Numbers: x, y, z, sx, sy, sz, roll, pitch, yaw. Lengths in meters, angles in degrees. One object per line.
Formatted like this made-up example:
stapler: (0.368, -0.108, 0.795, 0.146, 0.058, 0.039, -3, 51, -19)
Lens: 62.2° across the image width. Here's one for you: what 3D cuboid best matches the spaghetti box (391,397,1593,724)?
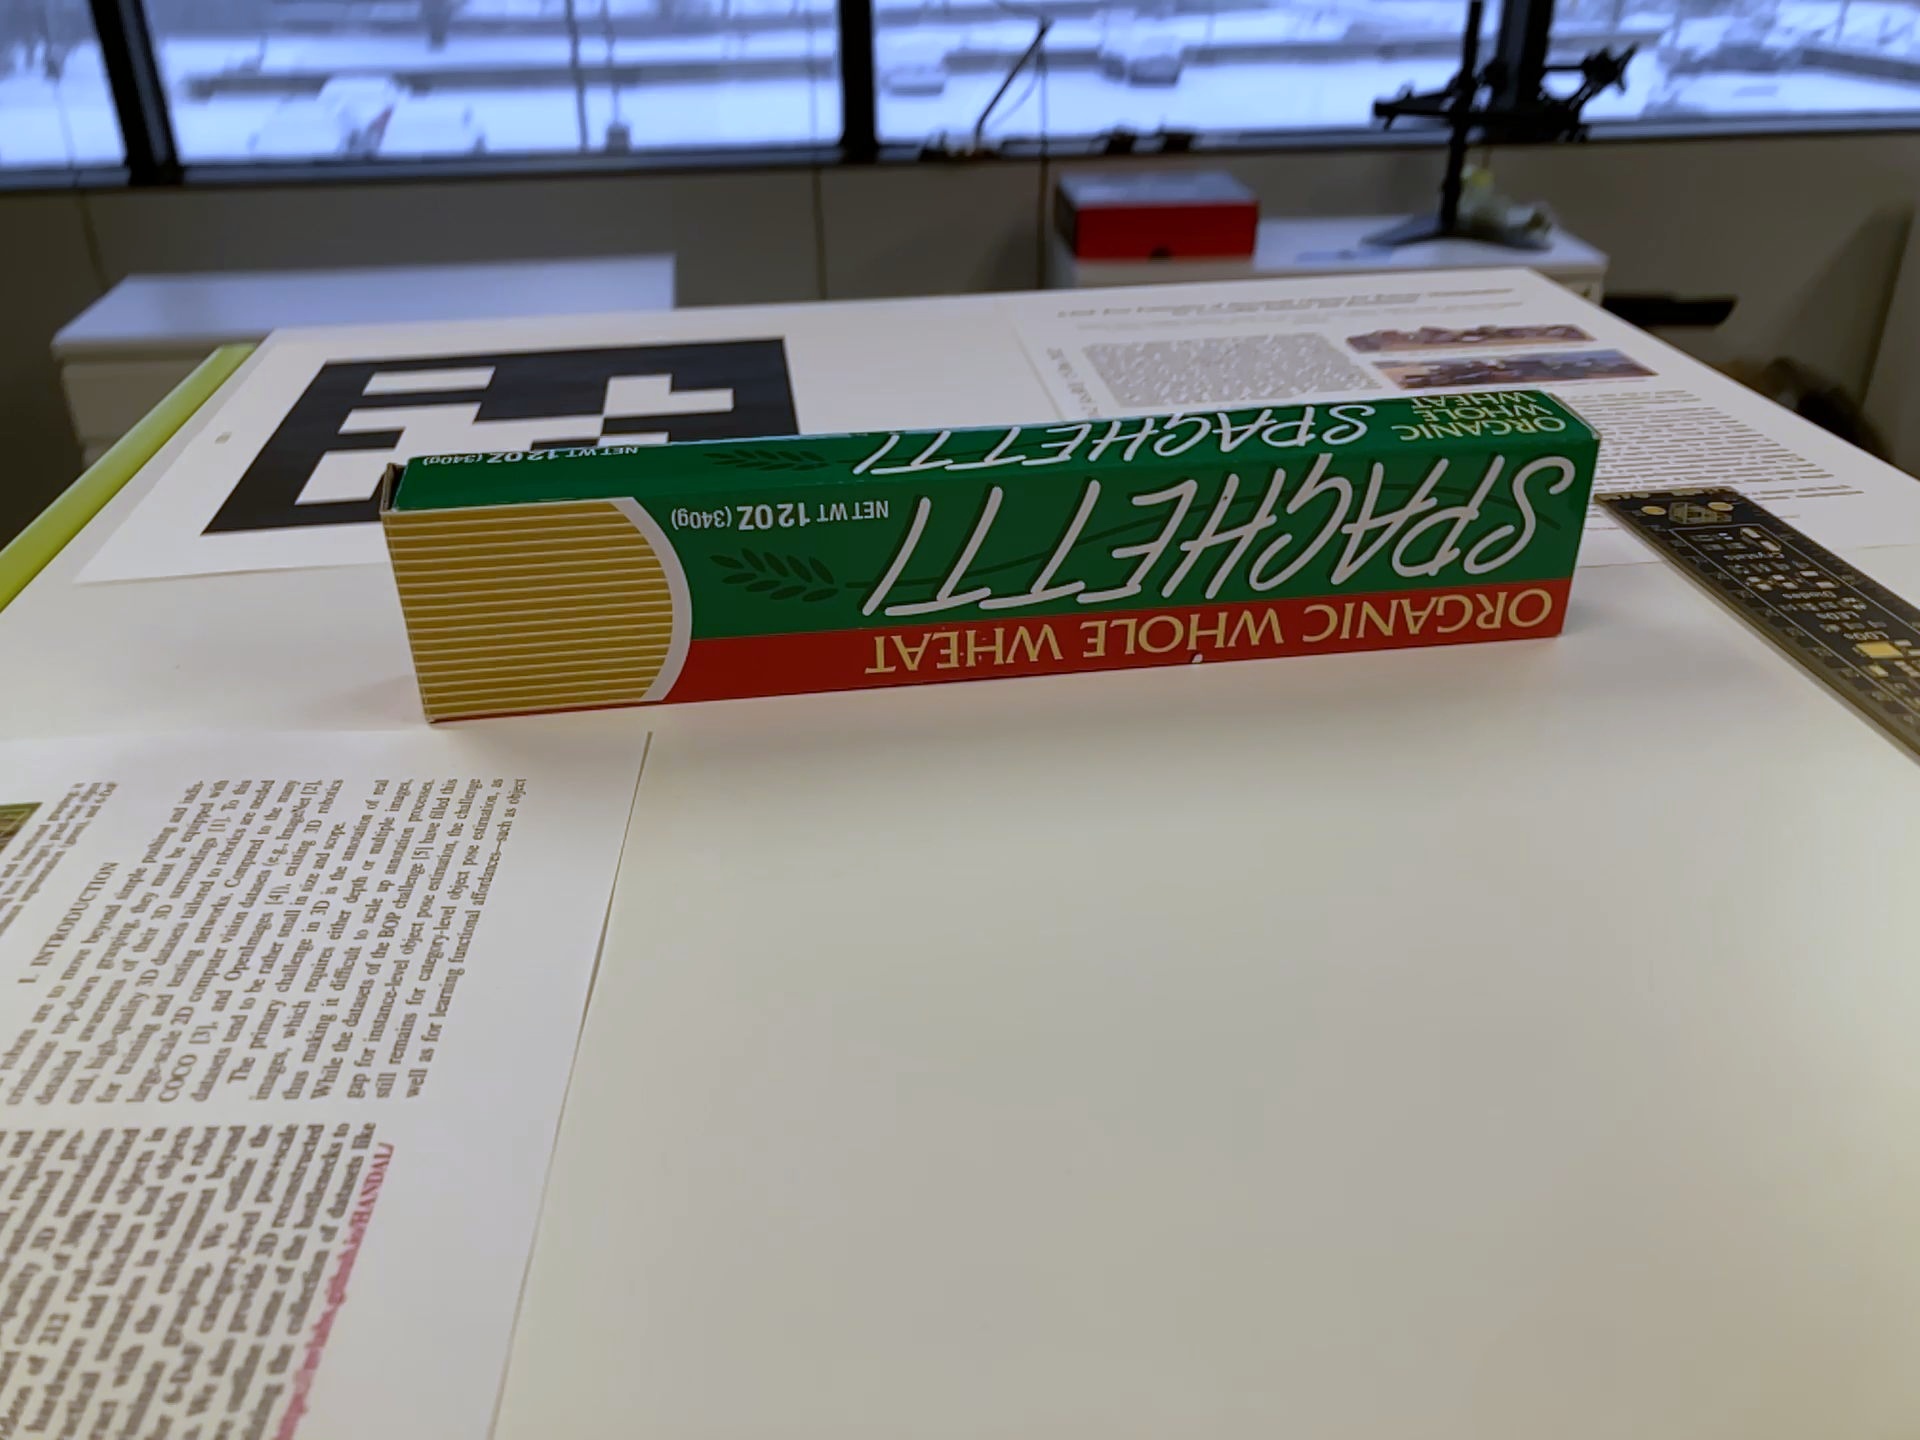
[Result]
spaghetti box: (0.011, -0.036, 0.342, 0.250, 0.050, 0.028, -4, 33, -6)
